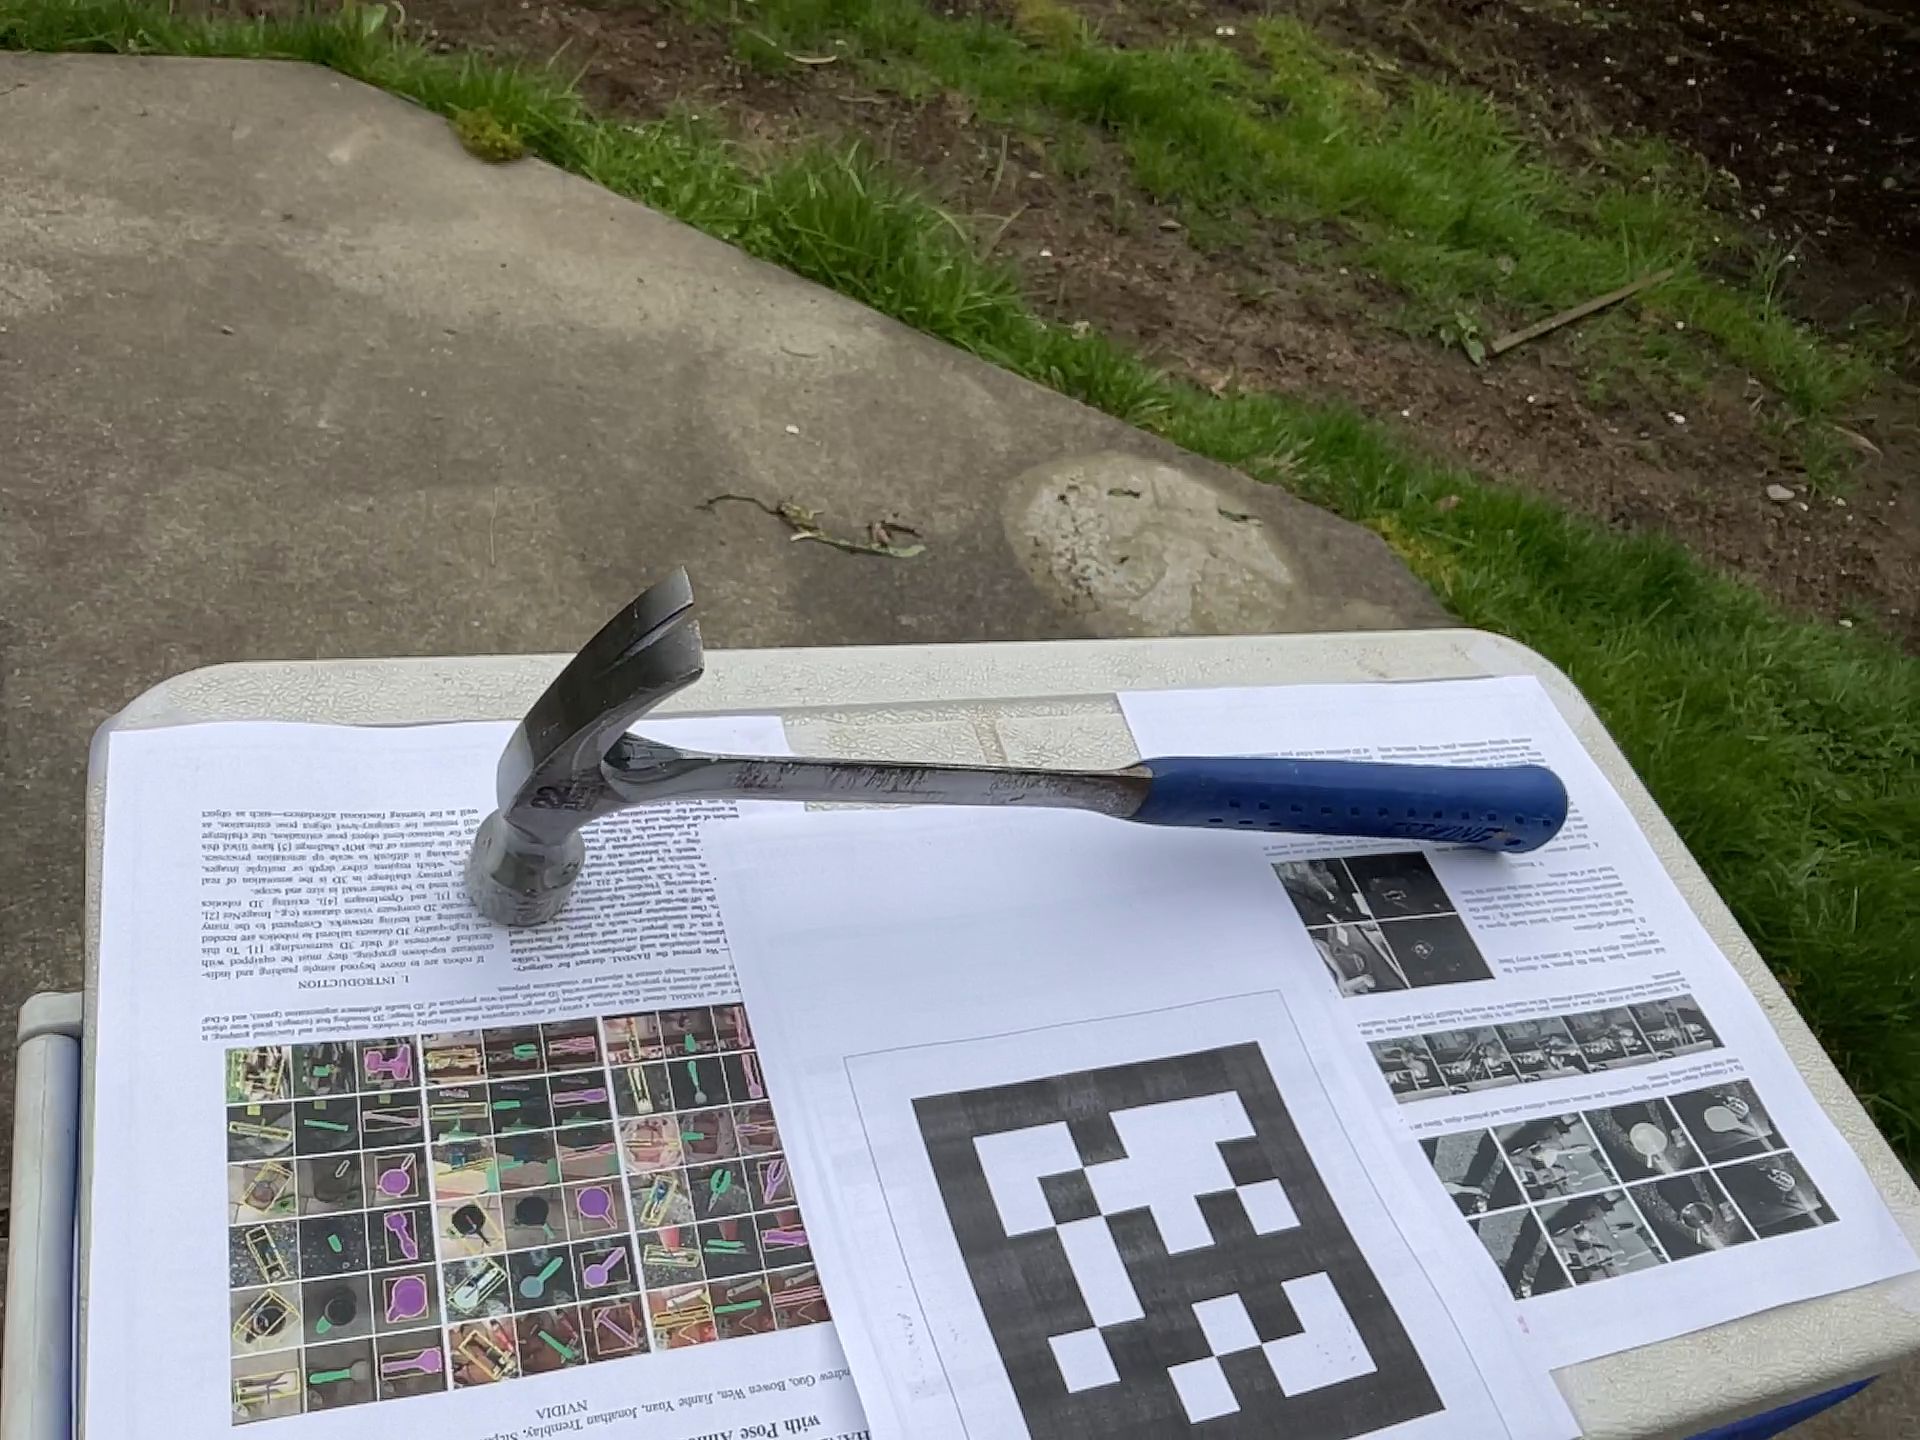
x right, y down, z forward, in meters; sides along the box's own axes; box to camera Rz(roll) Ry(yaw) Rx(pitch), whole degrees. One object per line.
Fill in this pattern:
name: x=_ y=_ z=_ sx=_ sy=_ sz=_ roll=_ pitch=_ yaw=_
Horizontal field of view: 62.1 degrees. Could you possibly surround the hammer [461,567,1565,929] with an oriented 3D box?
hammer: x=0.052 y=0.022 z=0.541 sx=0.405 sy=0.144 sz=0.035 roll=3 pitch=54 yaw=-28
